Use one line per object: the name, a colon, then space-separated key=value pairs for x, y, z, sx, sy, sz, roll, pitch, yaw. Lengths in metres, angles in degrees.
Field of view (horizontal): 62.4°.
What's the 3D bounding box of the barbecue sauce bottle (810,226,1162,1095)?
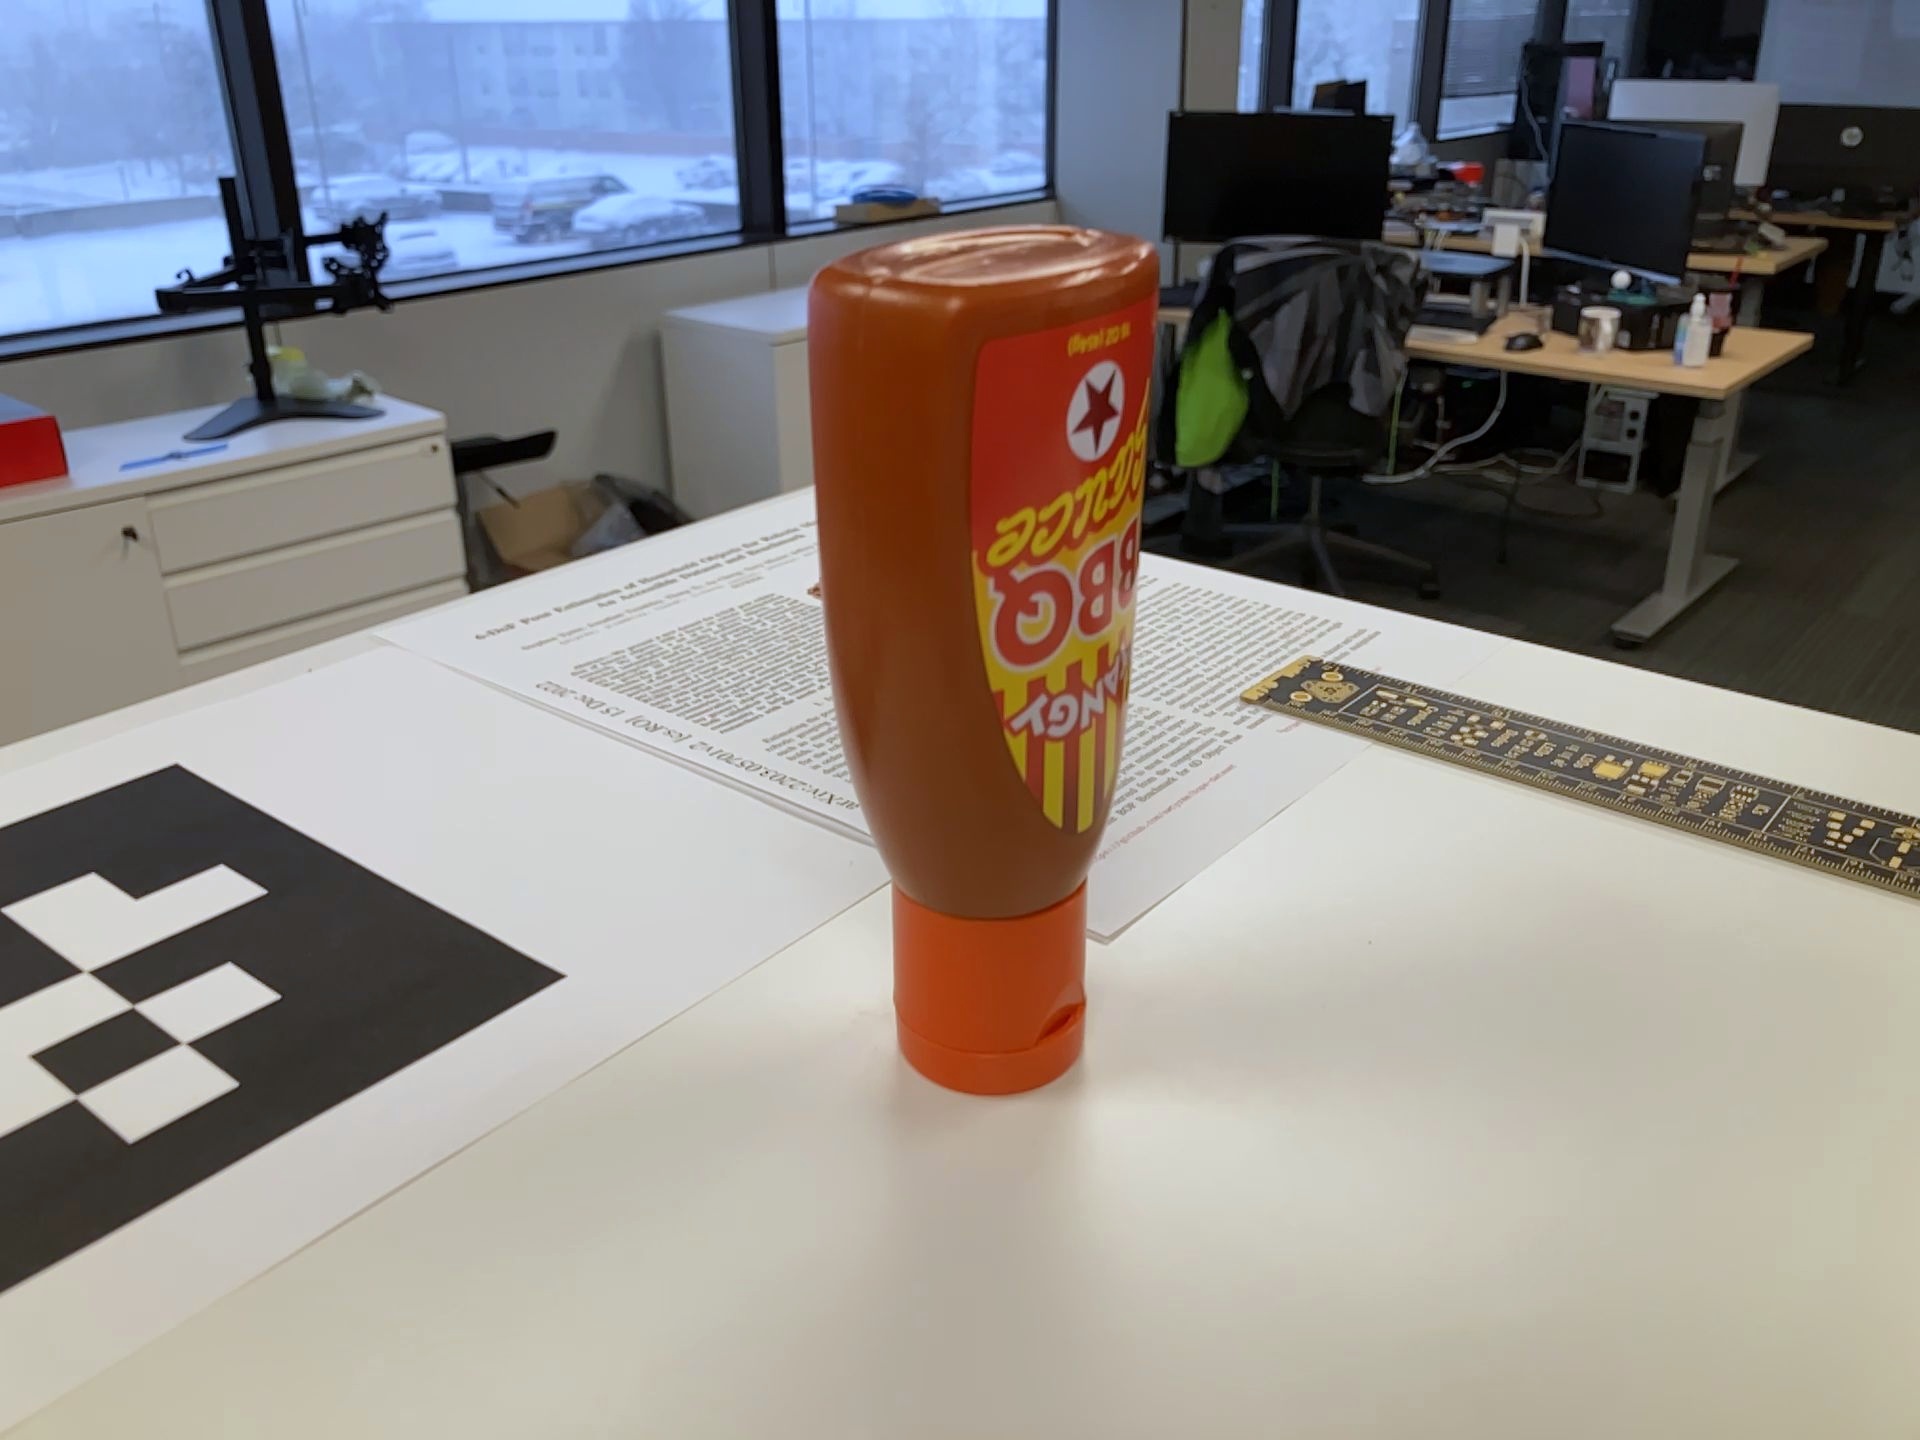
barbecue sauce bottle: x=0.006 y=-0.006 z=0.276 sx=0.043 sy=0.148 sz=0.065 roll=17 pitch=29 yaw=34
